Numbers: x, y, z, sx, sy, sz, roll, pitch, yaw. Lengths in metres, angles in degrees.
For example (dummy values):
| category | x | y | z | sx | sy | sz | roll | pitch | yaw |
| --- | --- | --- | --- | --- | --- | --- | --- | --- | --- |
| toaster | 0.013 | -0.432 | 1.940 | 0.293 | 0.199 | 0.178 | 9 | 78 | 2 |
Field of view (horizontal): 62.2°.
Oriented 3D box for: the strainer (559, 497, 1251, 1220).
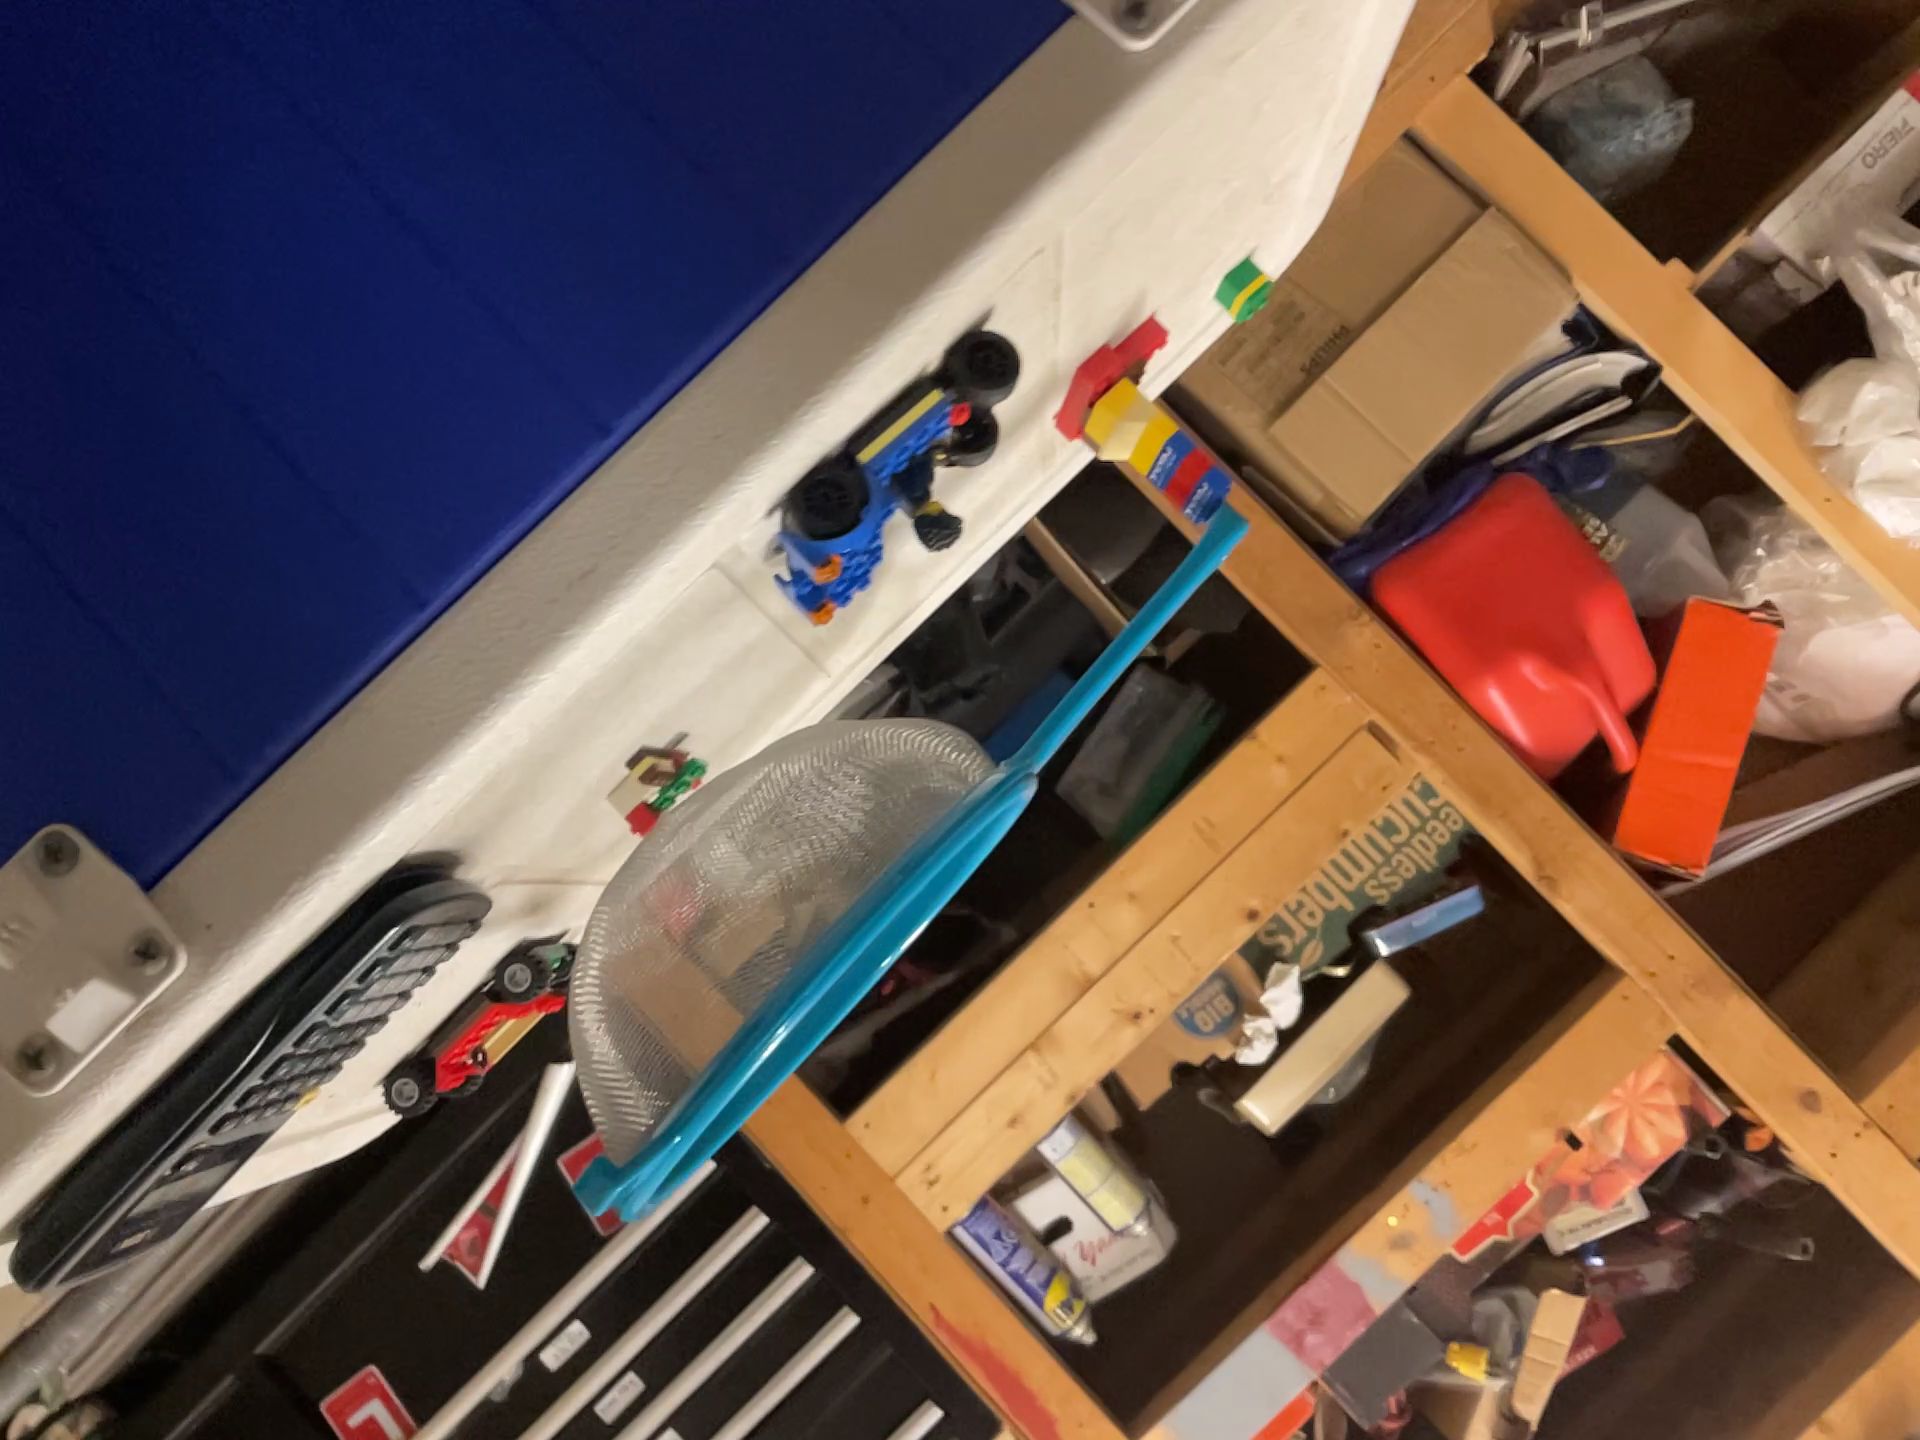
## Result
| category | x | y | z | sx | sy | sz | roll | pitch | yaw |
| --- | --- | --- | --- | --- | --- | --- | --- | --- | --- |
| strainer | -0.031 | 0.022 | 0.586 | 0.340 | 0.095 | 0.211 | -48 | 173 | -10 |
